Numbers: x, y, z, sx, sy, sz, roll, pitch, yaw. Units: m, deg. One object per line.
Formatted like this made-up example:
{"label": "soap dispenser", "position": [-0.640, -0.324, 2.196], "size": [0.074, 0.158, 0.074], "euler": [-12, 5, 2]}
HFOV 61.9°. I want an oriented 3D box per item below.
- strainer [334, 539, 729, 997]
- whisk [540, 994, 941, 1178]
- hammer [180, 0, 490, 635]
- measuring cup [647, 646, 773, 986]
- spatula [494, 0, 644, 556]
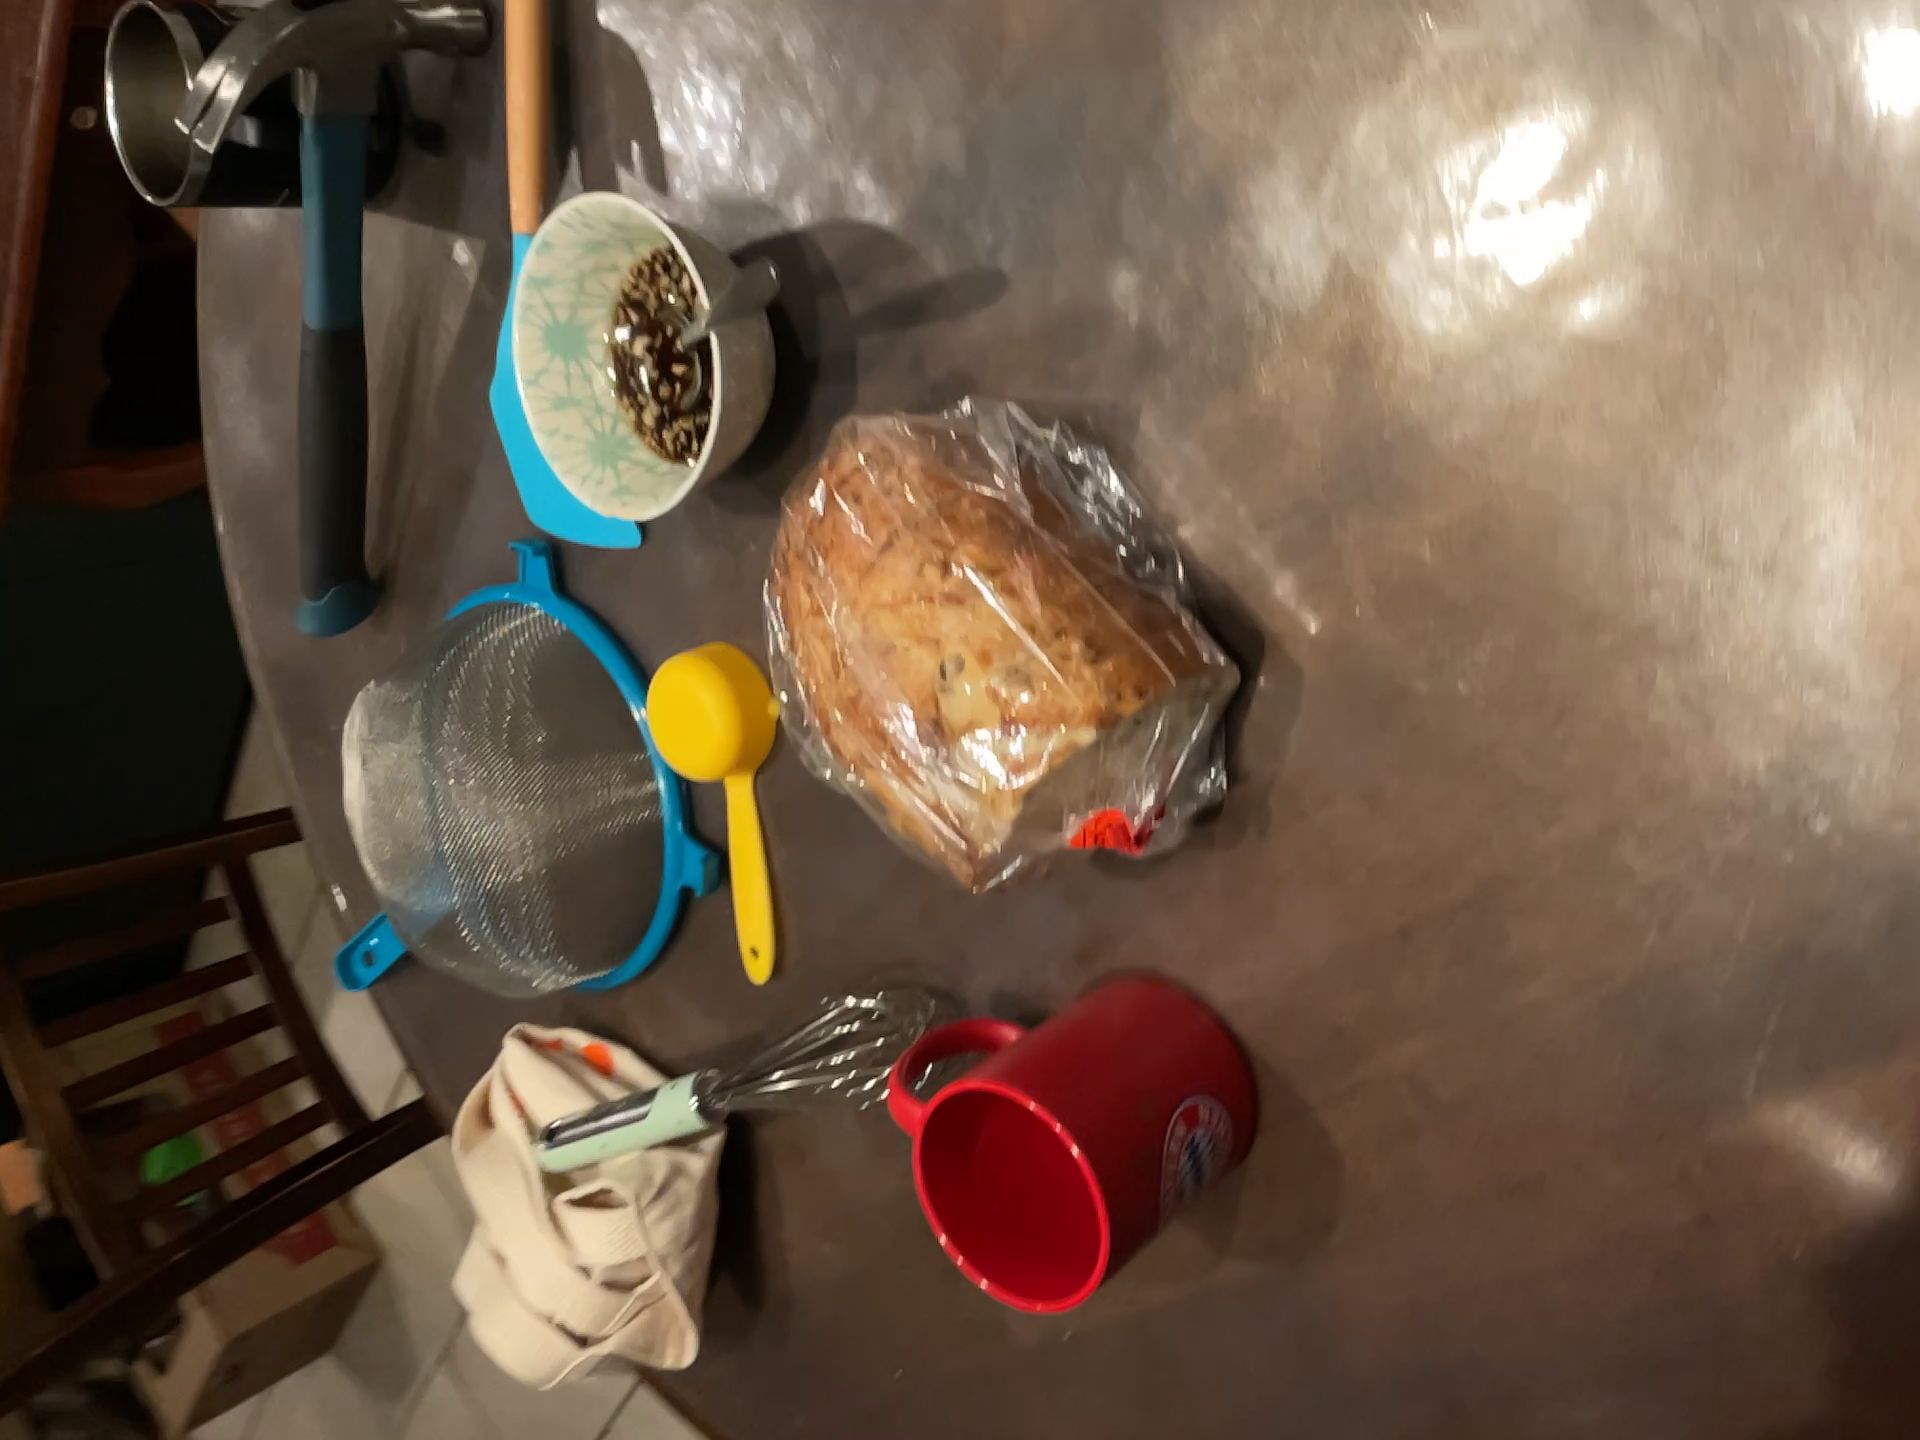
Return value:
{"label": "strainer", "position": [-0.272, 0.075, 0.815], "size": [0.340, 0.095, 0.211], "euler": [-38, 76, 36]}
{"label": "whisk", "position": [-0.106, 0.168, 0.710], "size": [0.246, 0.058, 0.059], "euler": [-25, 116, 33]}
{"label": "hammer", "position": [-0.297, -0.180, 0.772], "size": [0.033, 0.128, 0.330], "euler": [41, 133, 28]}
{"label": "measuring cup", "position": [-0.107, 0.046, 0.708], "size": [0.062, 0.029, 0.156], "euler": [0, 100, 40]}
{"label": "spatula", "position": [-0.179, -0.231, 0.701], "size": [0.082, 0.044, 0.317], "euler": [13, 106, 38]}
